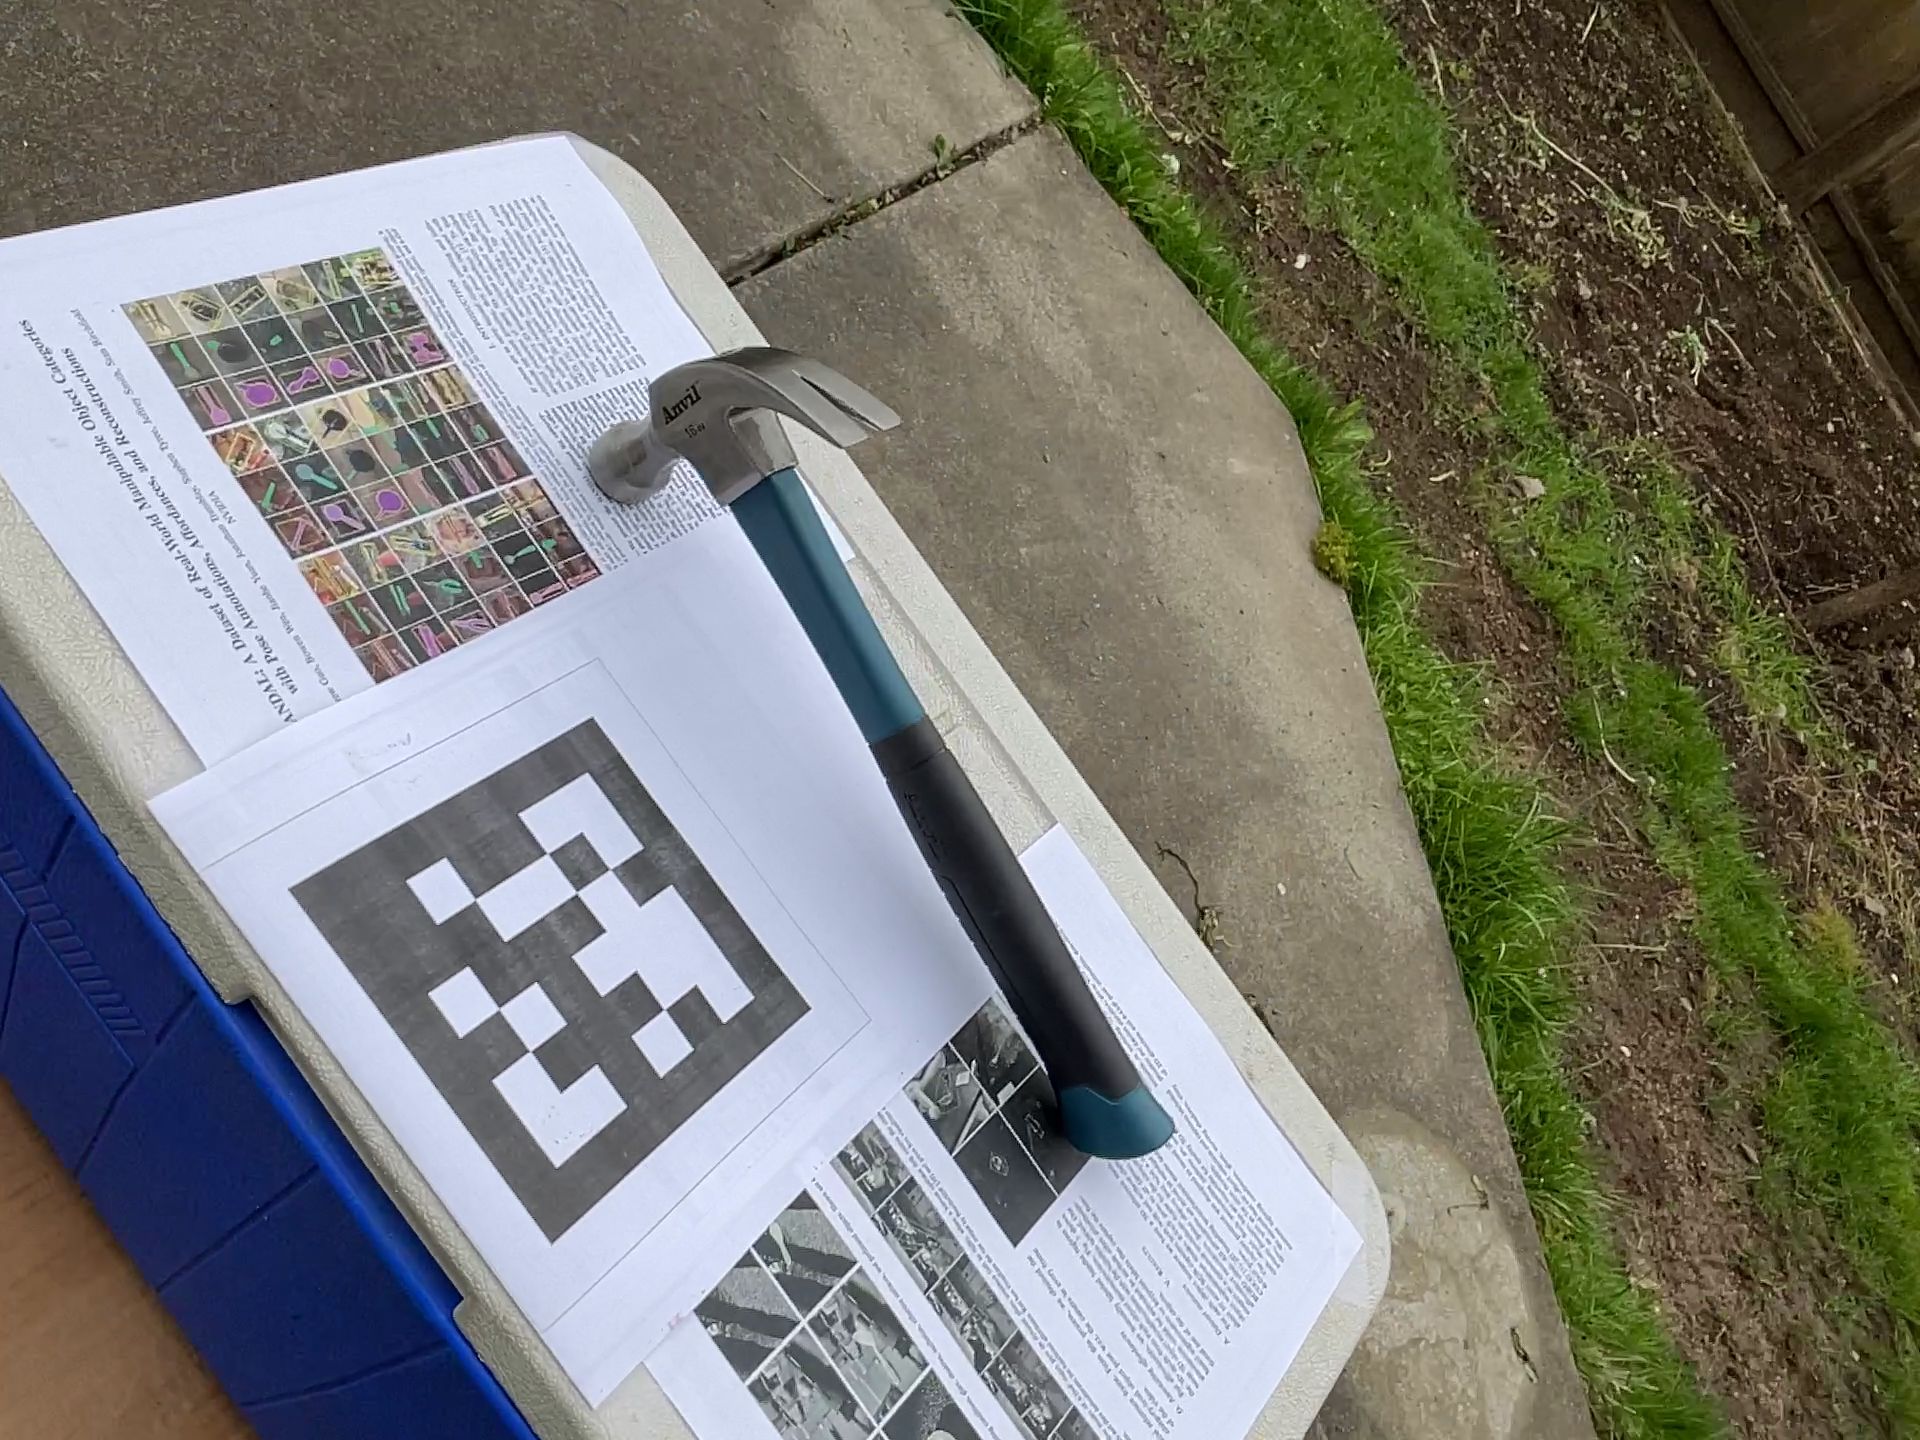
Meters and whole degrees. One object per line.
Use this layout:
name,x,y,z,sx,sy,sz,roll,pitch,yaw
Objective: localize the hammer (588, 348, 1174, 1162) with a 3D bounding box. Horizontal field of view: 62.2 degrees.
hammer,-0.018,0.016,0.583,0.033,0.128,0.331,-34,96,-44
